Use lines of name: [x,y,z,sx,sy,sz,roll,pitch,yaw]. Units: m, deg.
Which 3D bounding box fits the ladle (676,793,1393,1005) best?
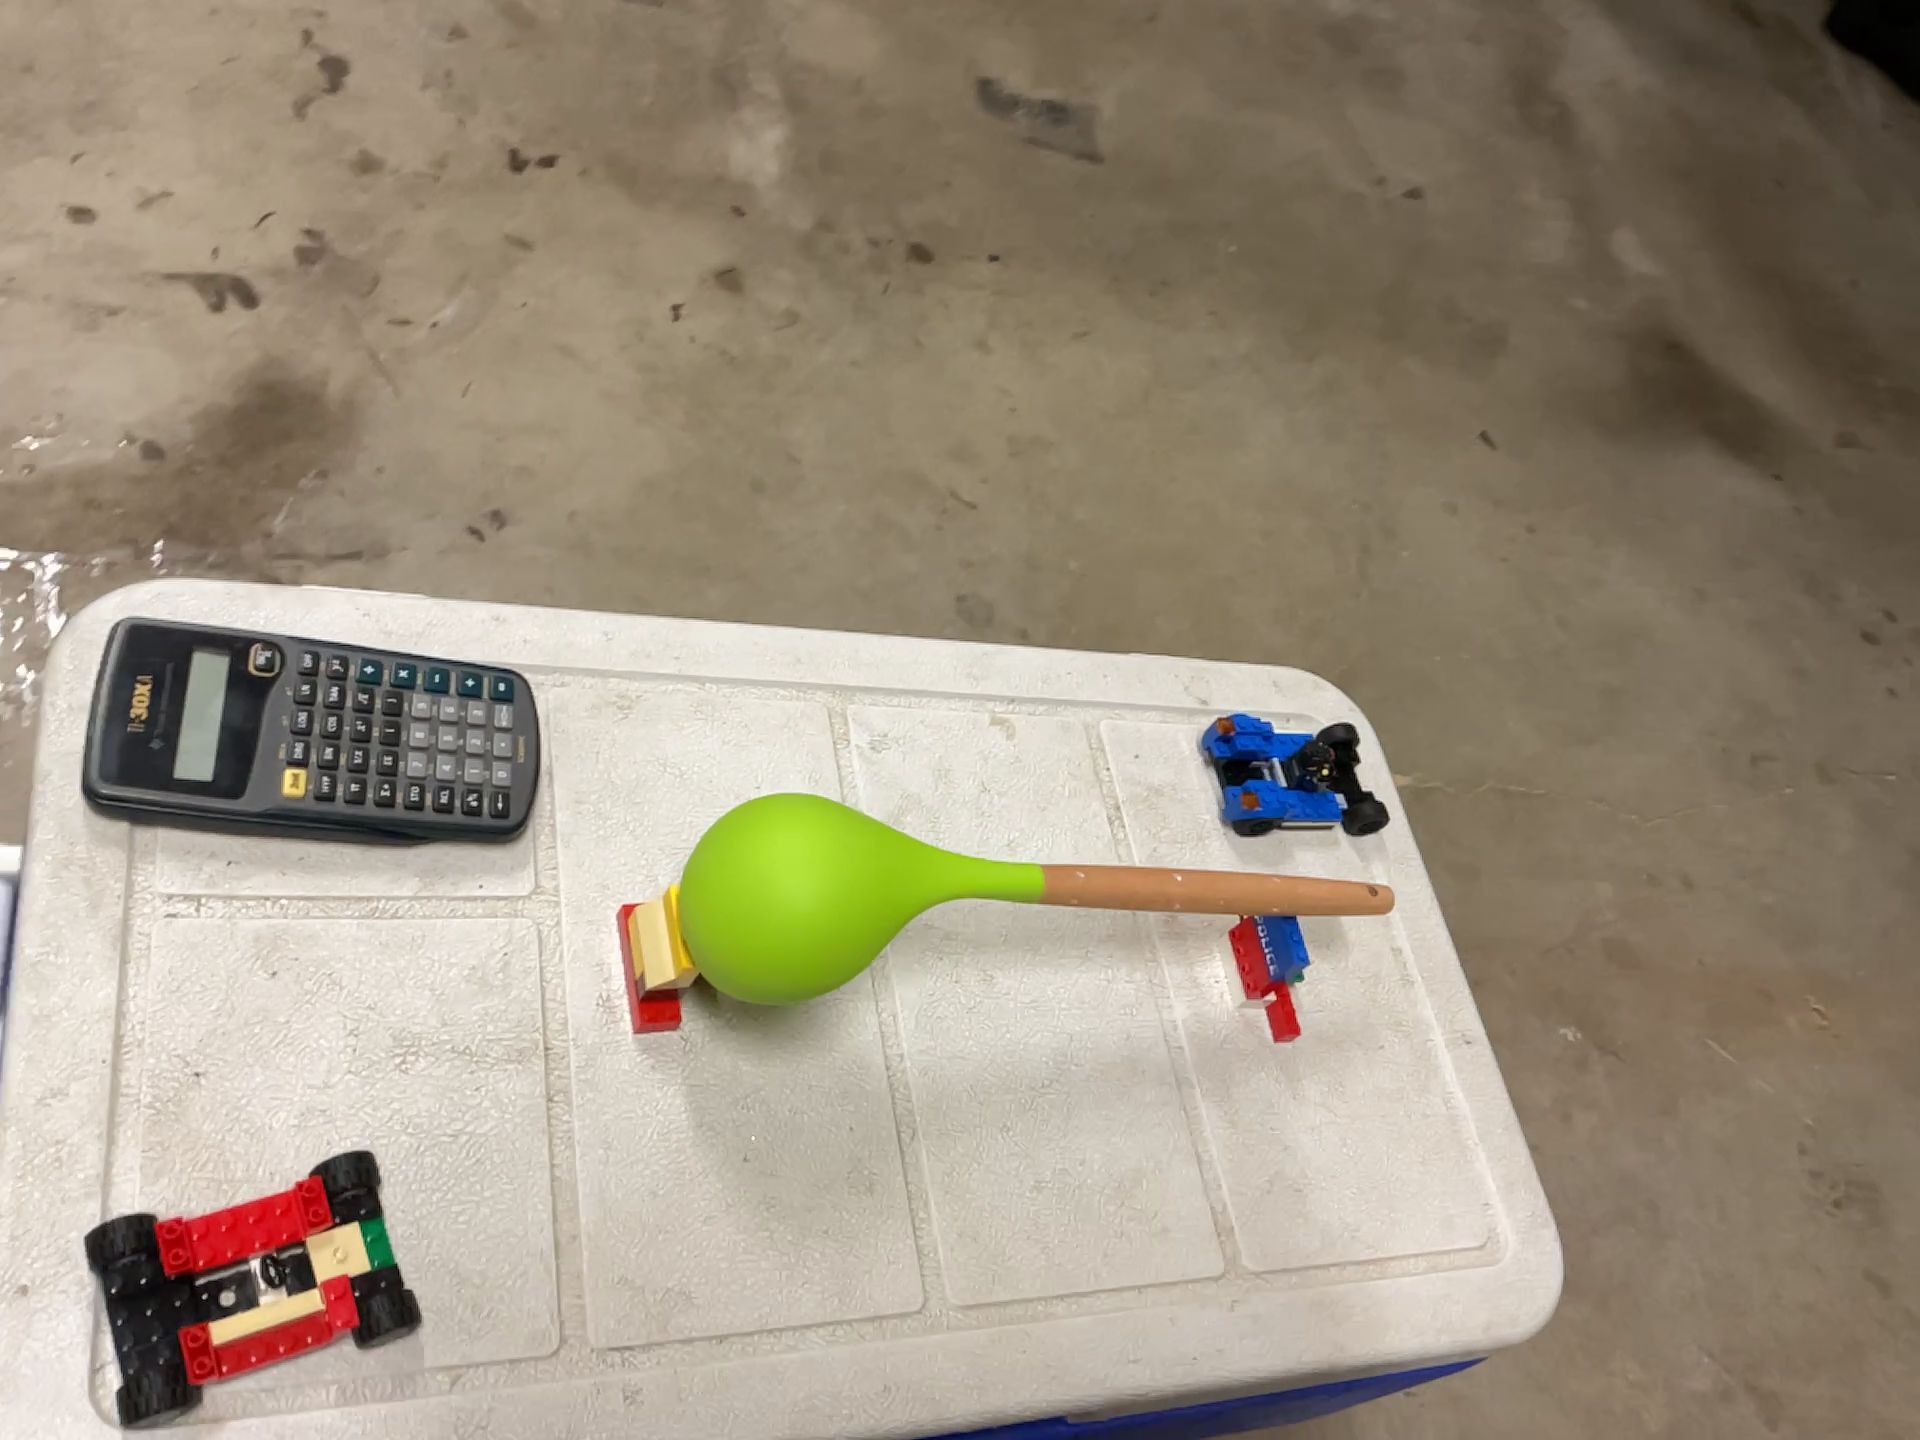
ladle: [0.044,0.072,0.626,0.320,0.062,0.078,6,50,-31]
